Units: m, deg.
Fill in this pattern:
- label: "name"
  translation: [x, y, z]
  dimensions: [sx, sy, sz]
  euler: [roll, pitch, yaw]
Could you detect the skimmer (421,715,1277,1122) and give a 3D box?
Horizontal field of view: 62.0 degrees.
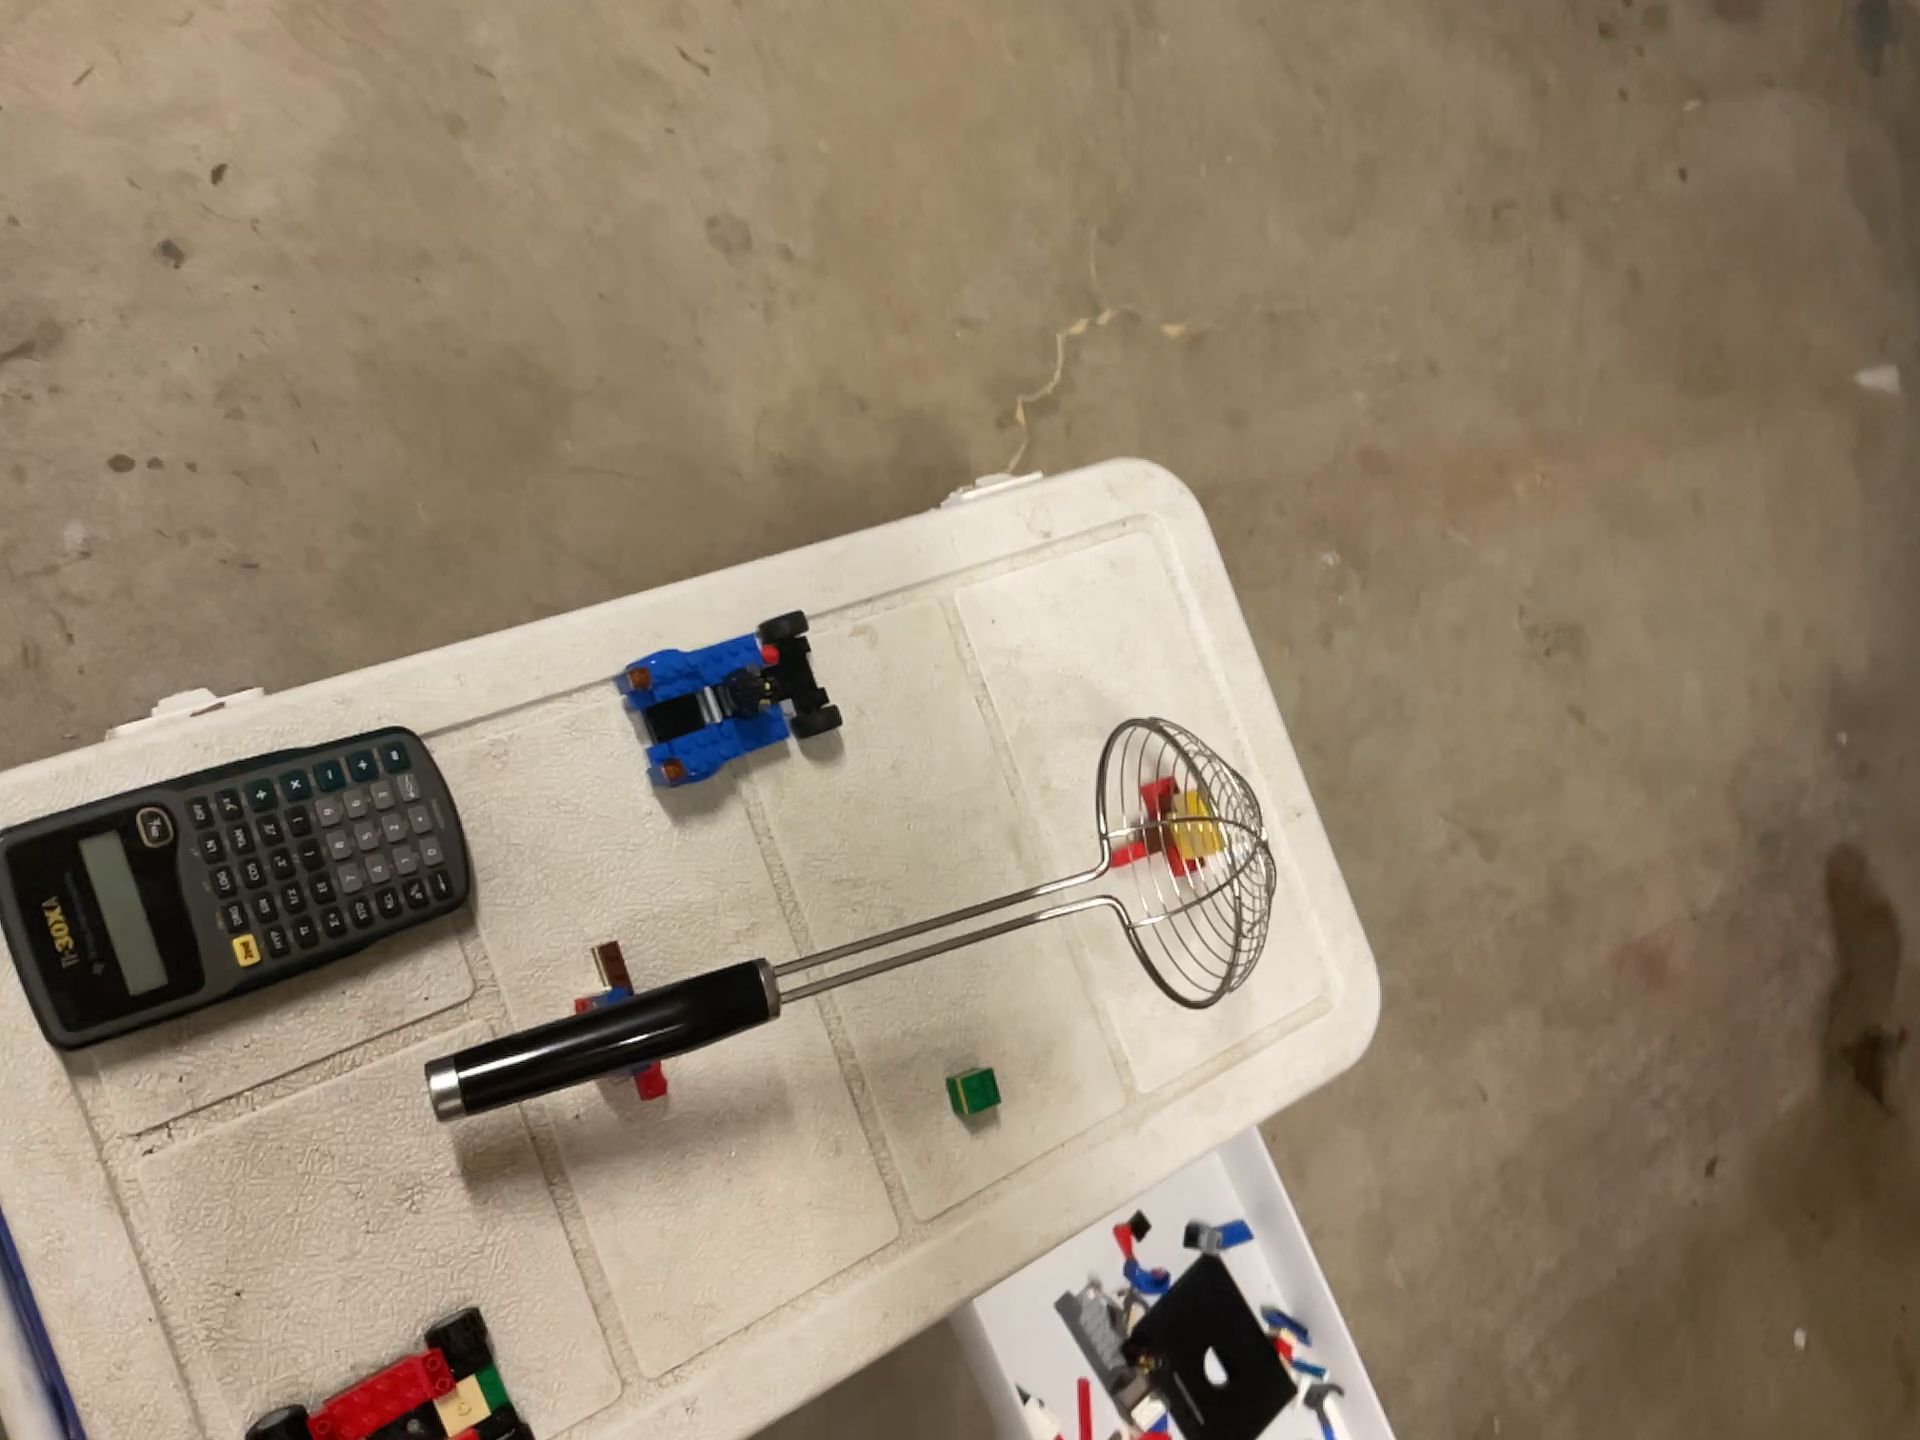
- label: "skimmer"
  translation: [-0.026, 0.090, 0.638]
  dimensions: [0.363, 0.090, 0.127]
  euler: [-14, 87, -20]
